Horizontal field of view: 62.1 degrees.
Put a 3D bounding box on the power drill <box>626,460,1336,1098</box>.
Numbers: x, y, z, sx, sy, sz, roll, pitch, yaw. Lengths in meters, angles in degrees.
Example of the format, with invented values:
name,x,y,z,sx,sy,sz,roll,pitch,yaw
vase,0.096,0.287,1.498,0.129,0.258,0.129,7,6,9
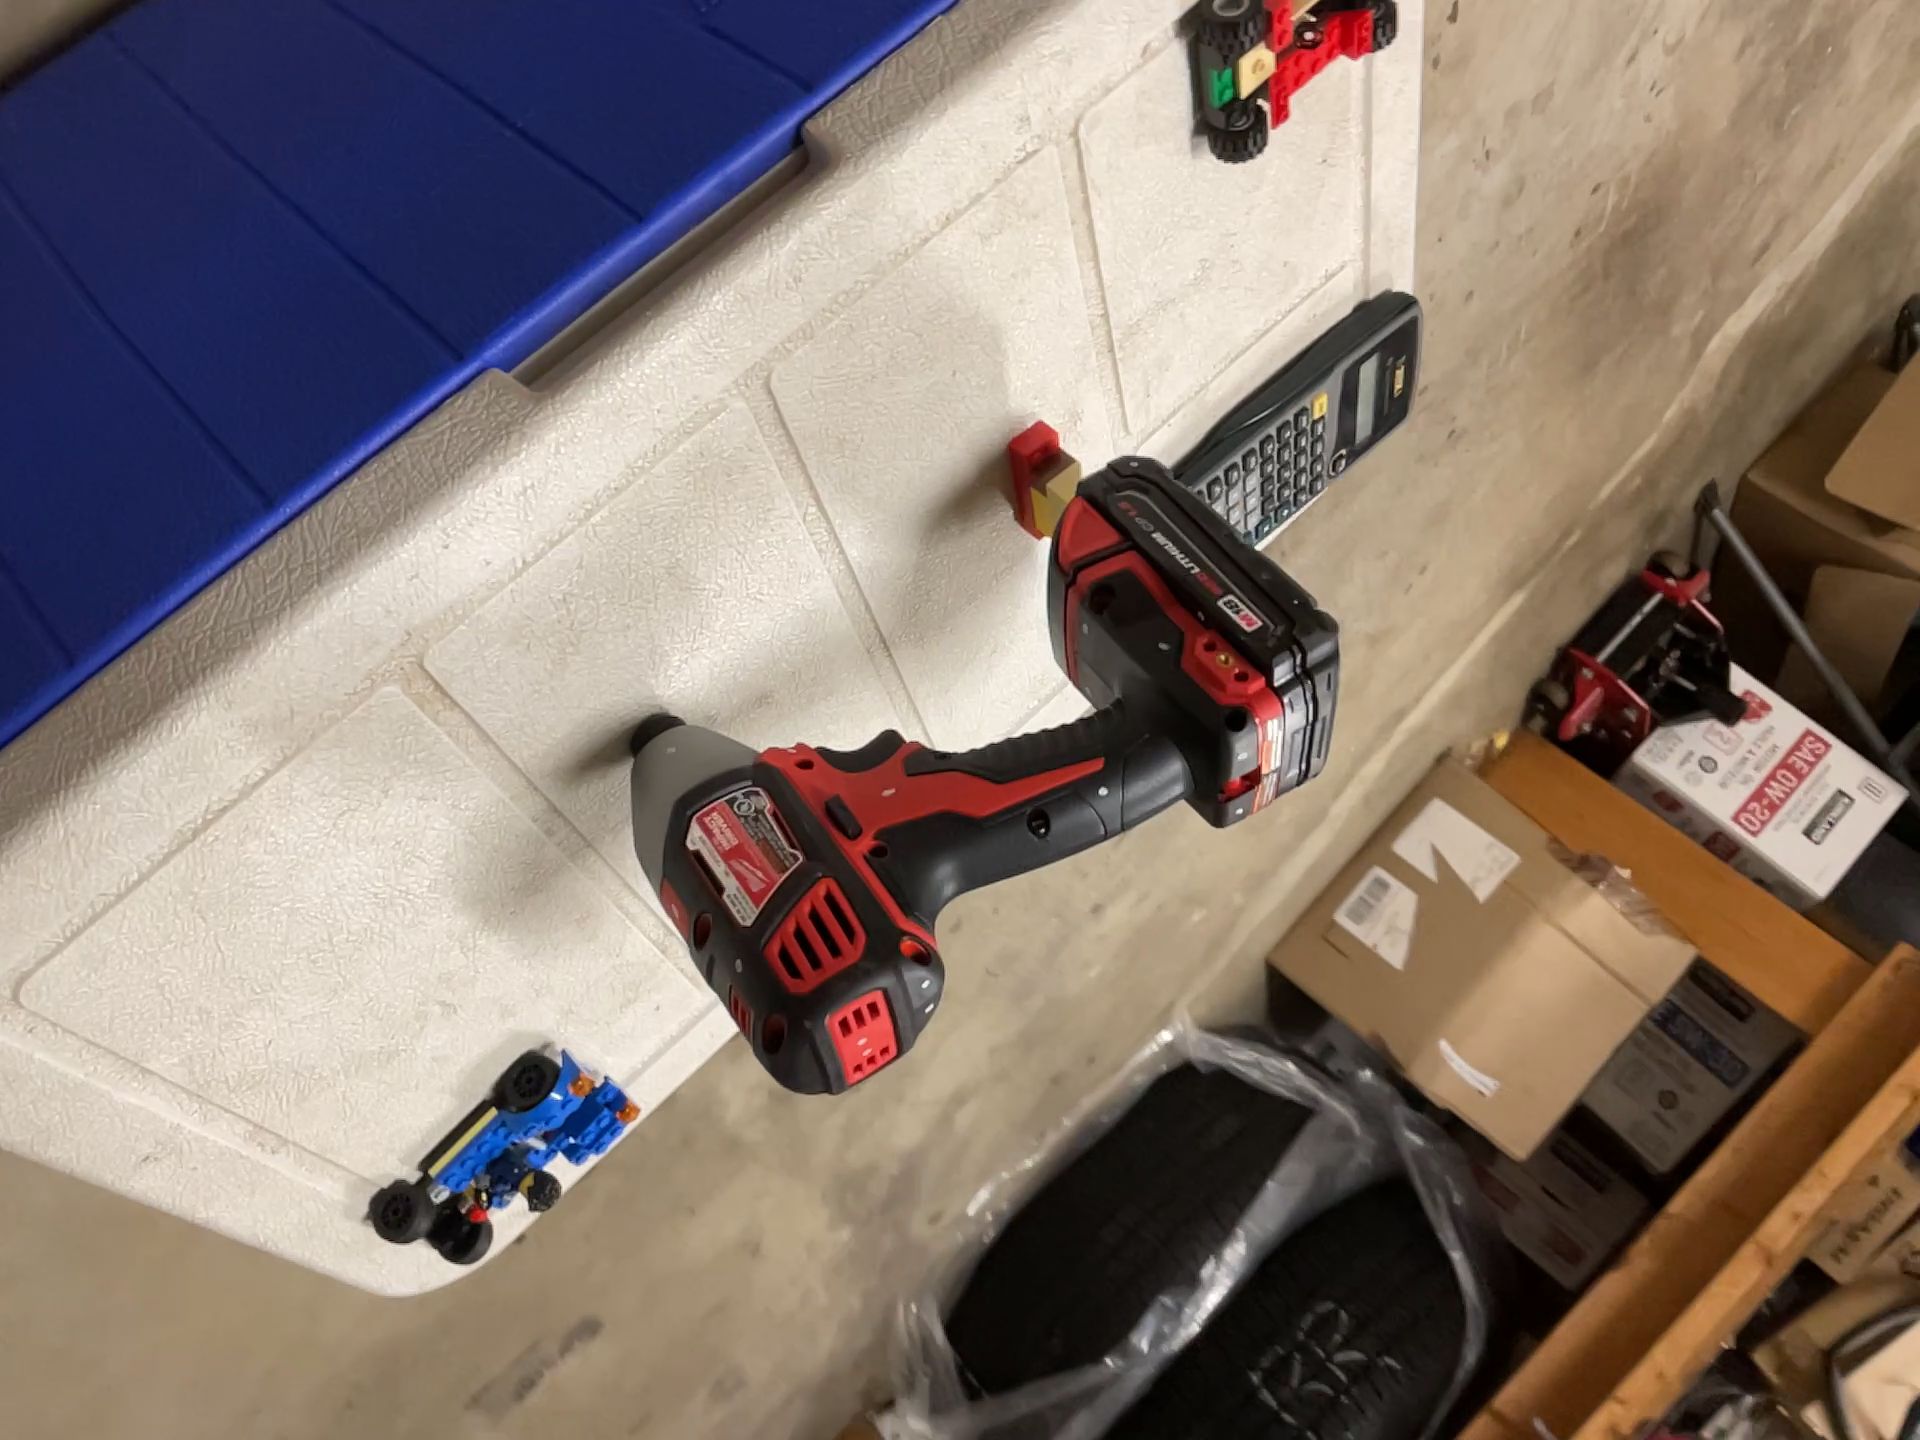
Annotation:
name,x,y,z,sx,sy,sz,roll,pitch,yaw
power drill,0.001,0.011,0.521,0.220,0.143,0.078,-30,145,-17
